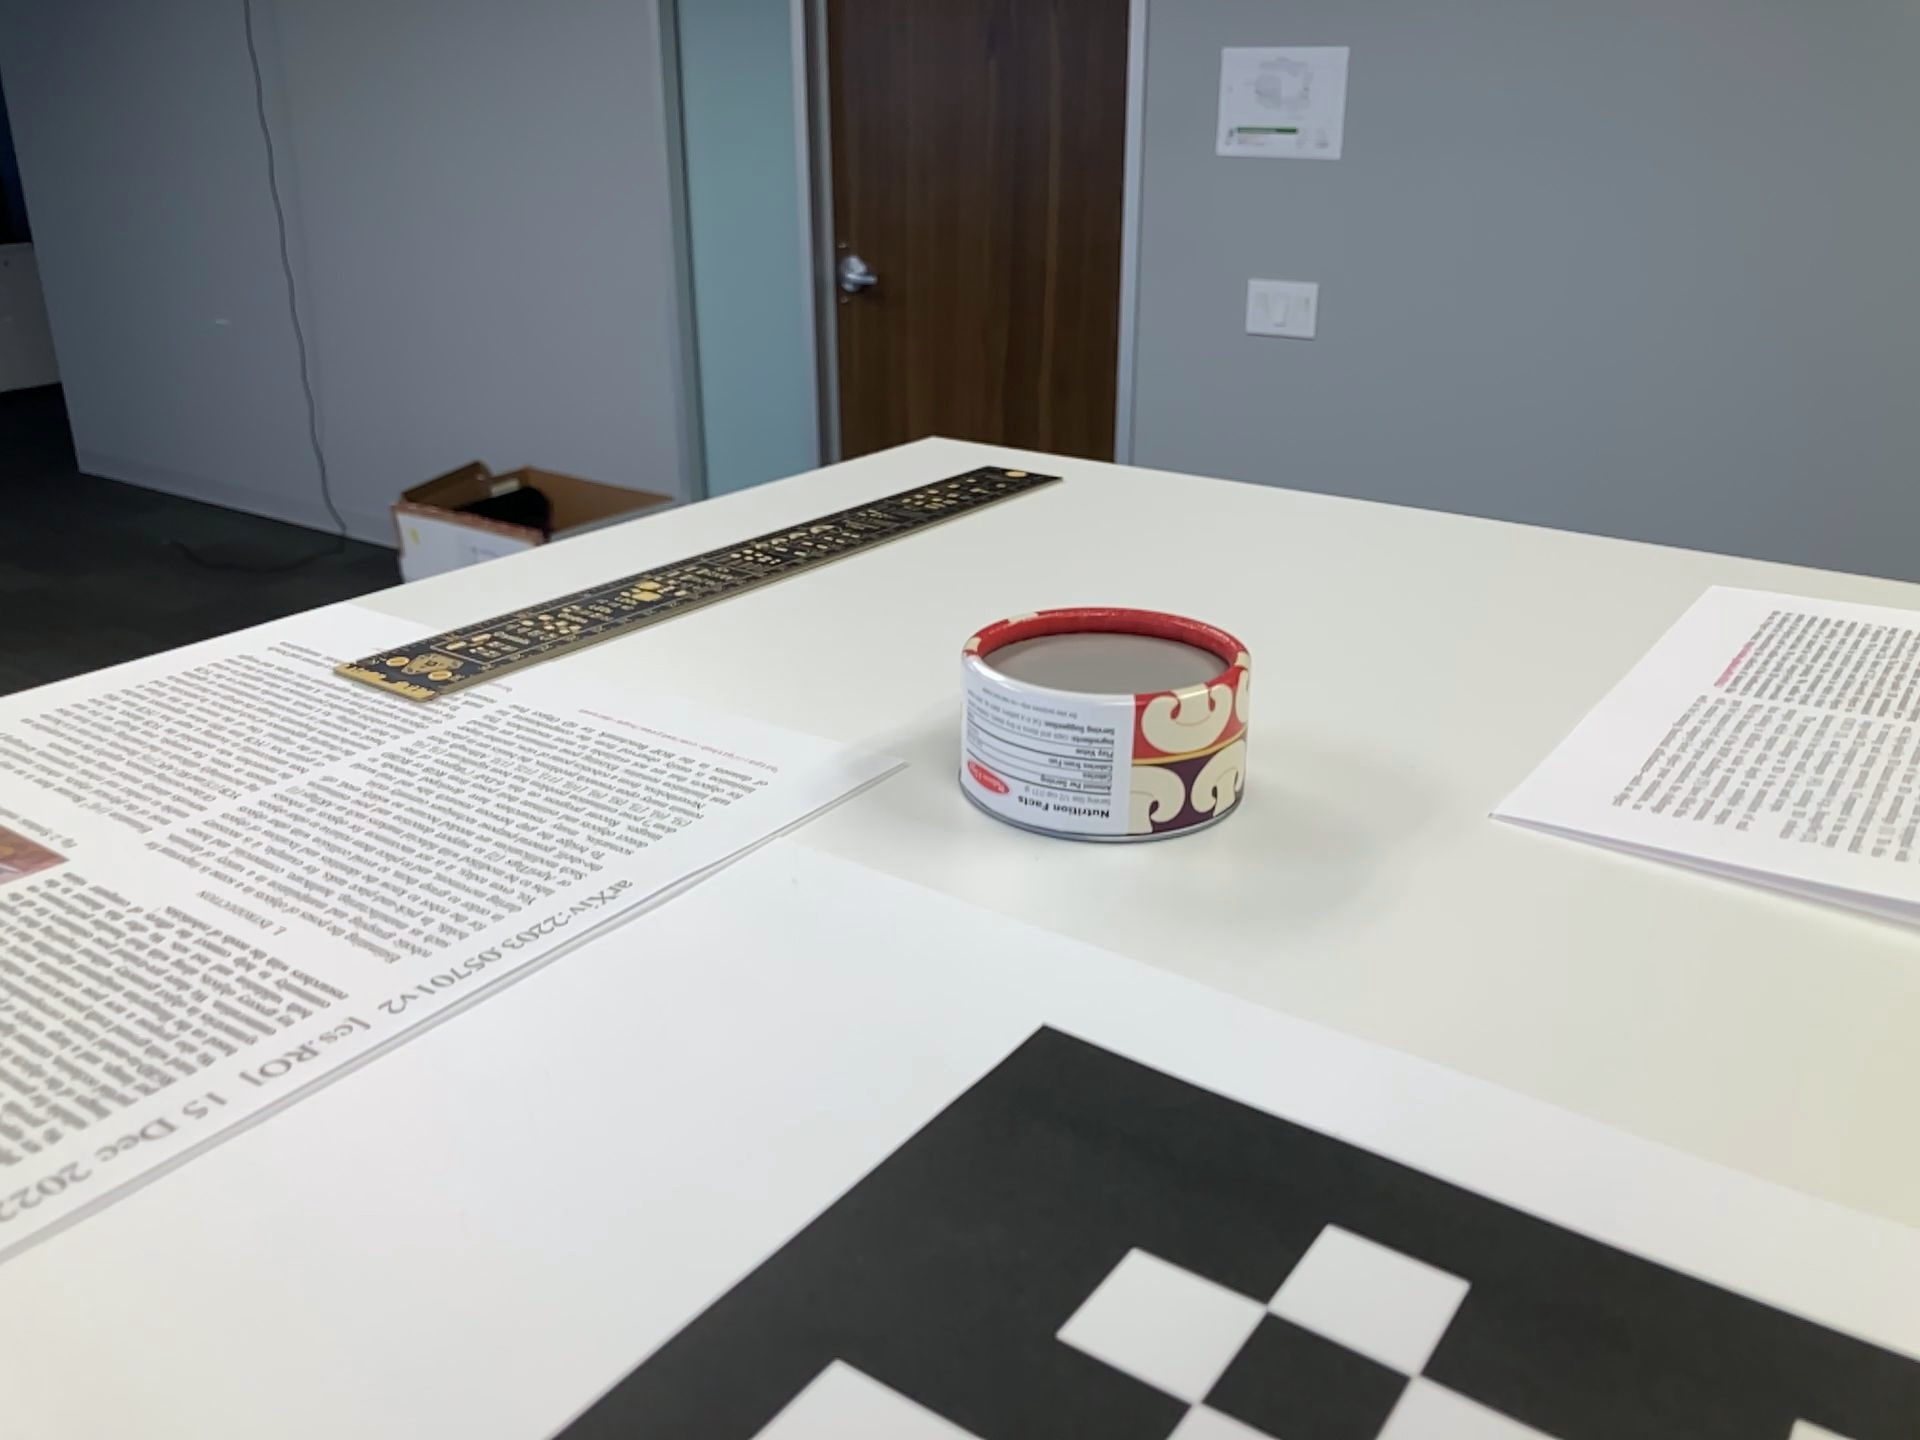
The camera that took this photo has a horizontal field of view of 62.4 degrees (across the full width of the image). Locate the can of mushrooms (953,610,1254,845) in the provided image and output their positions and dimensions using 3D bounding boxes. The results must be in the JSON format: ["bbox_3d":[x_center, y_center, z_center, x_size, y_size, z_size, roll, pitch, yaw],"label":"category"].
[{"bbox_3d":[0.033,-0.001,0.358,0.071,0.033,0.071,0,20,0],"label":"can of mushrooms"}]
